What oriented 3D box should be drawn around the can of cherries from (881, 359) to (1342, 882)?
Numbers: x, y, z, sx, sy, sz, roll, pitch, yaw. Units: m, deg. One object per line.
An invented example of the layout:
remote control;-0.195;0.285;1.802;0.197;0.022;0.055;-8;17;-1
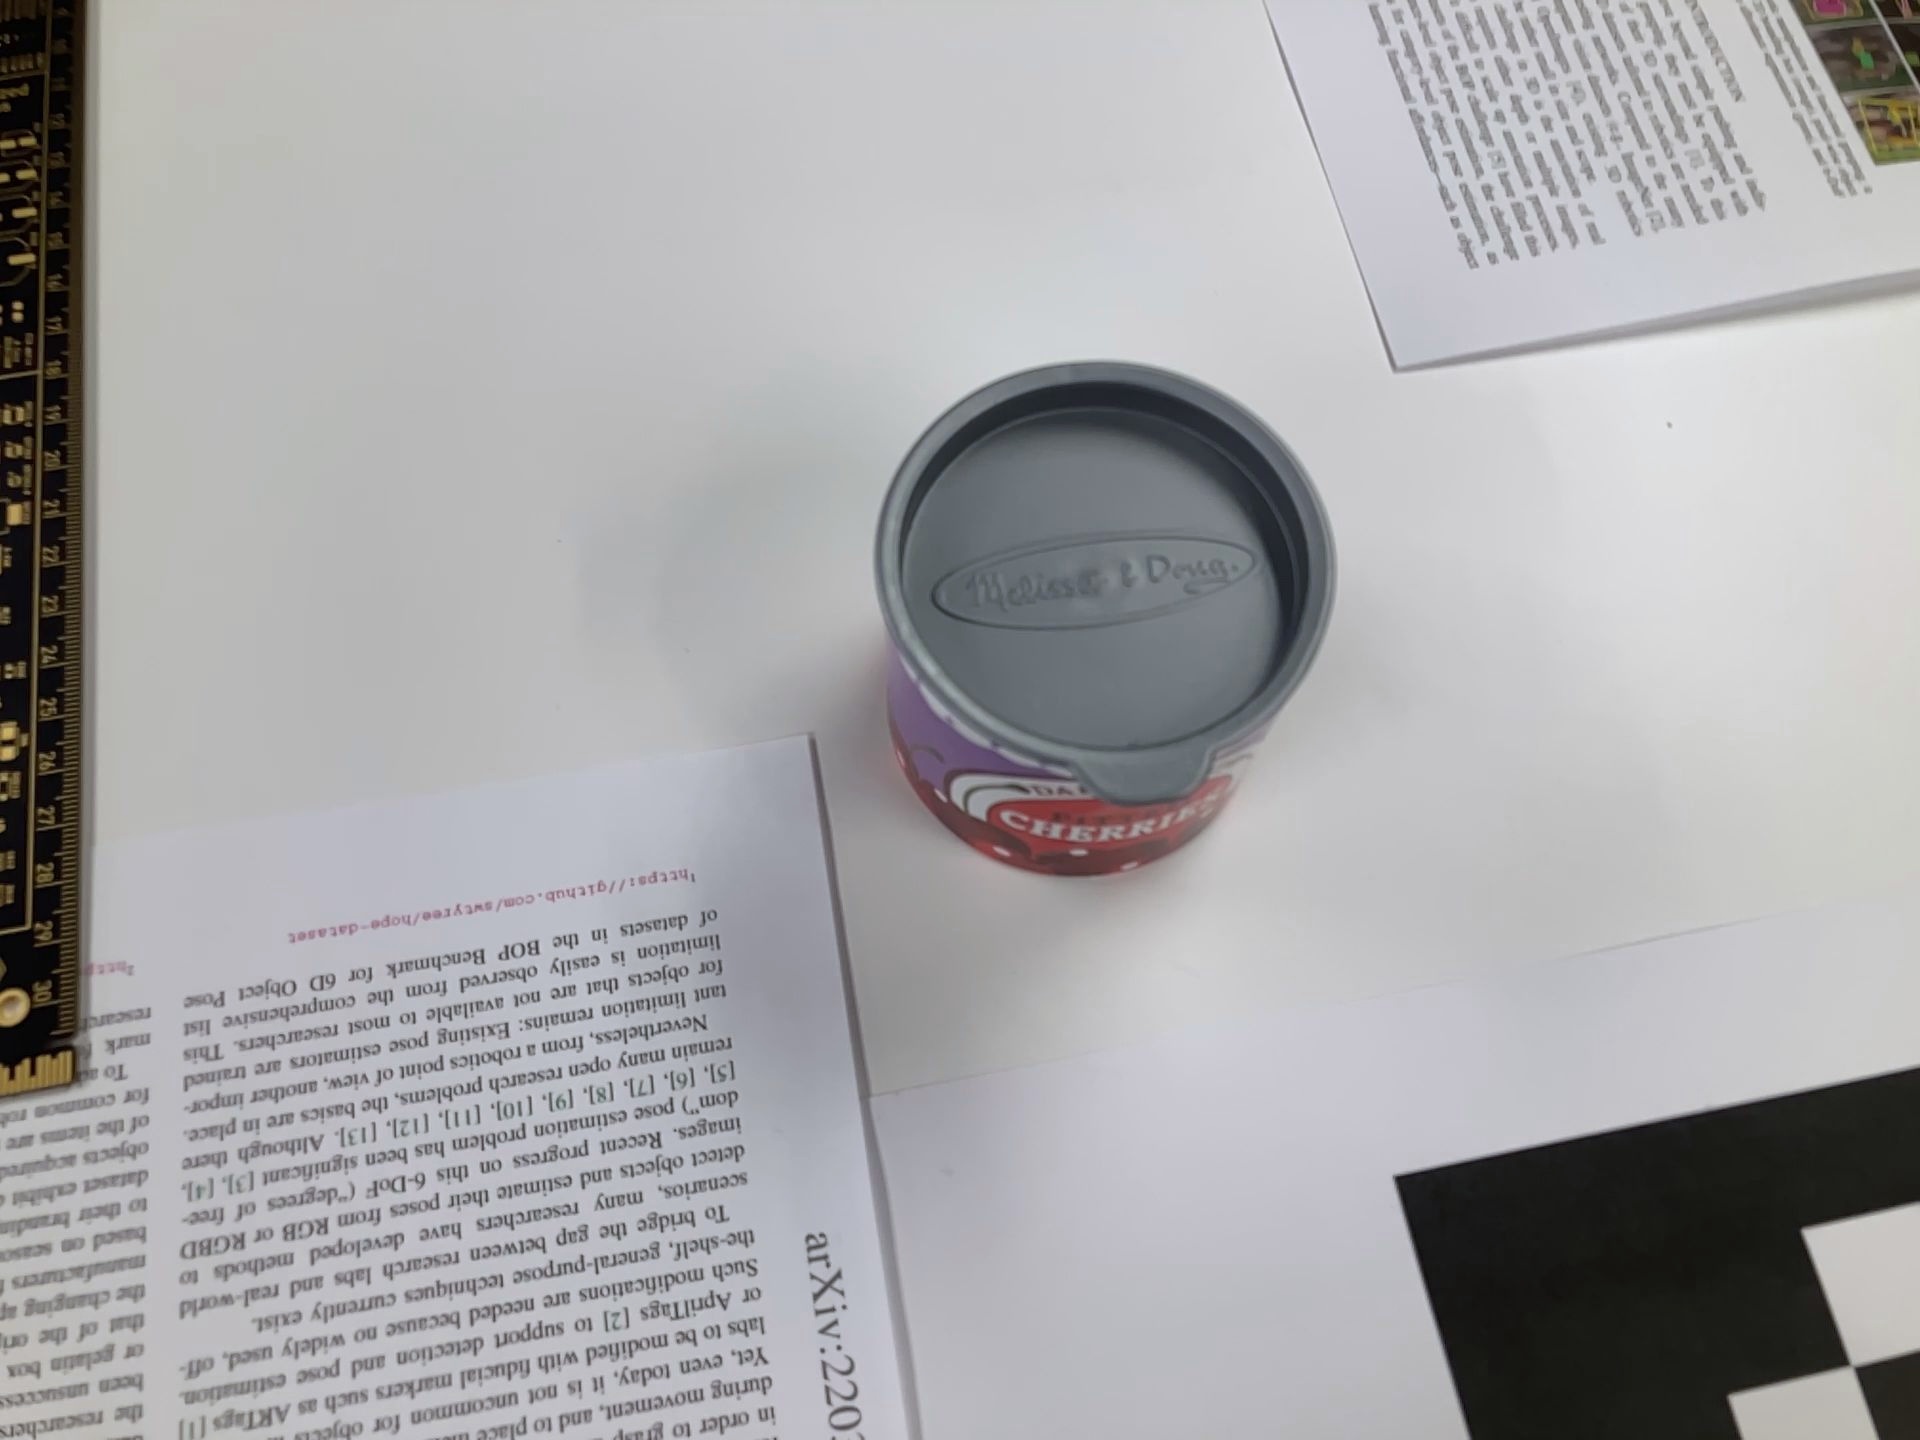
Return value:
can of cherries;0.021;-0.011;0.252;0.071;0.058;0.071;0;68;-1
